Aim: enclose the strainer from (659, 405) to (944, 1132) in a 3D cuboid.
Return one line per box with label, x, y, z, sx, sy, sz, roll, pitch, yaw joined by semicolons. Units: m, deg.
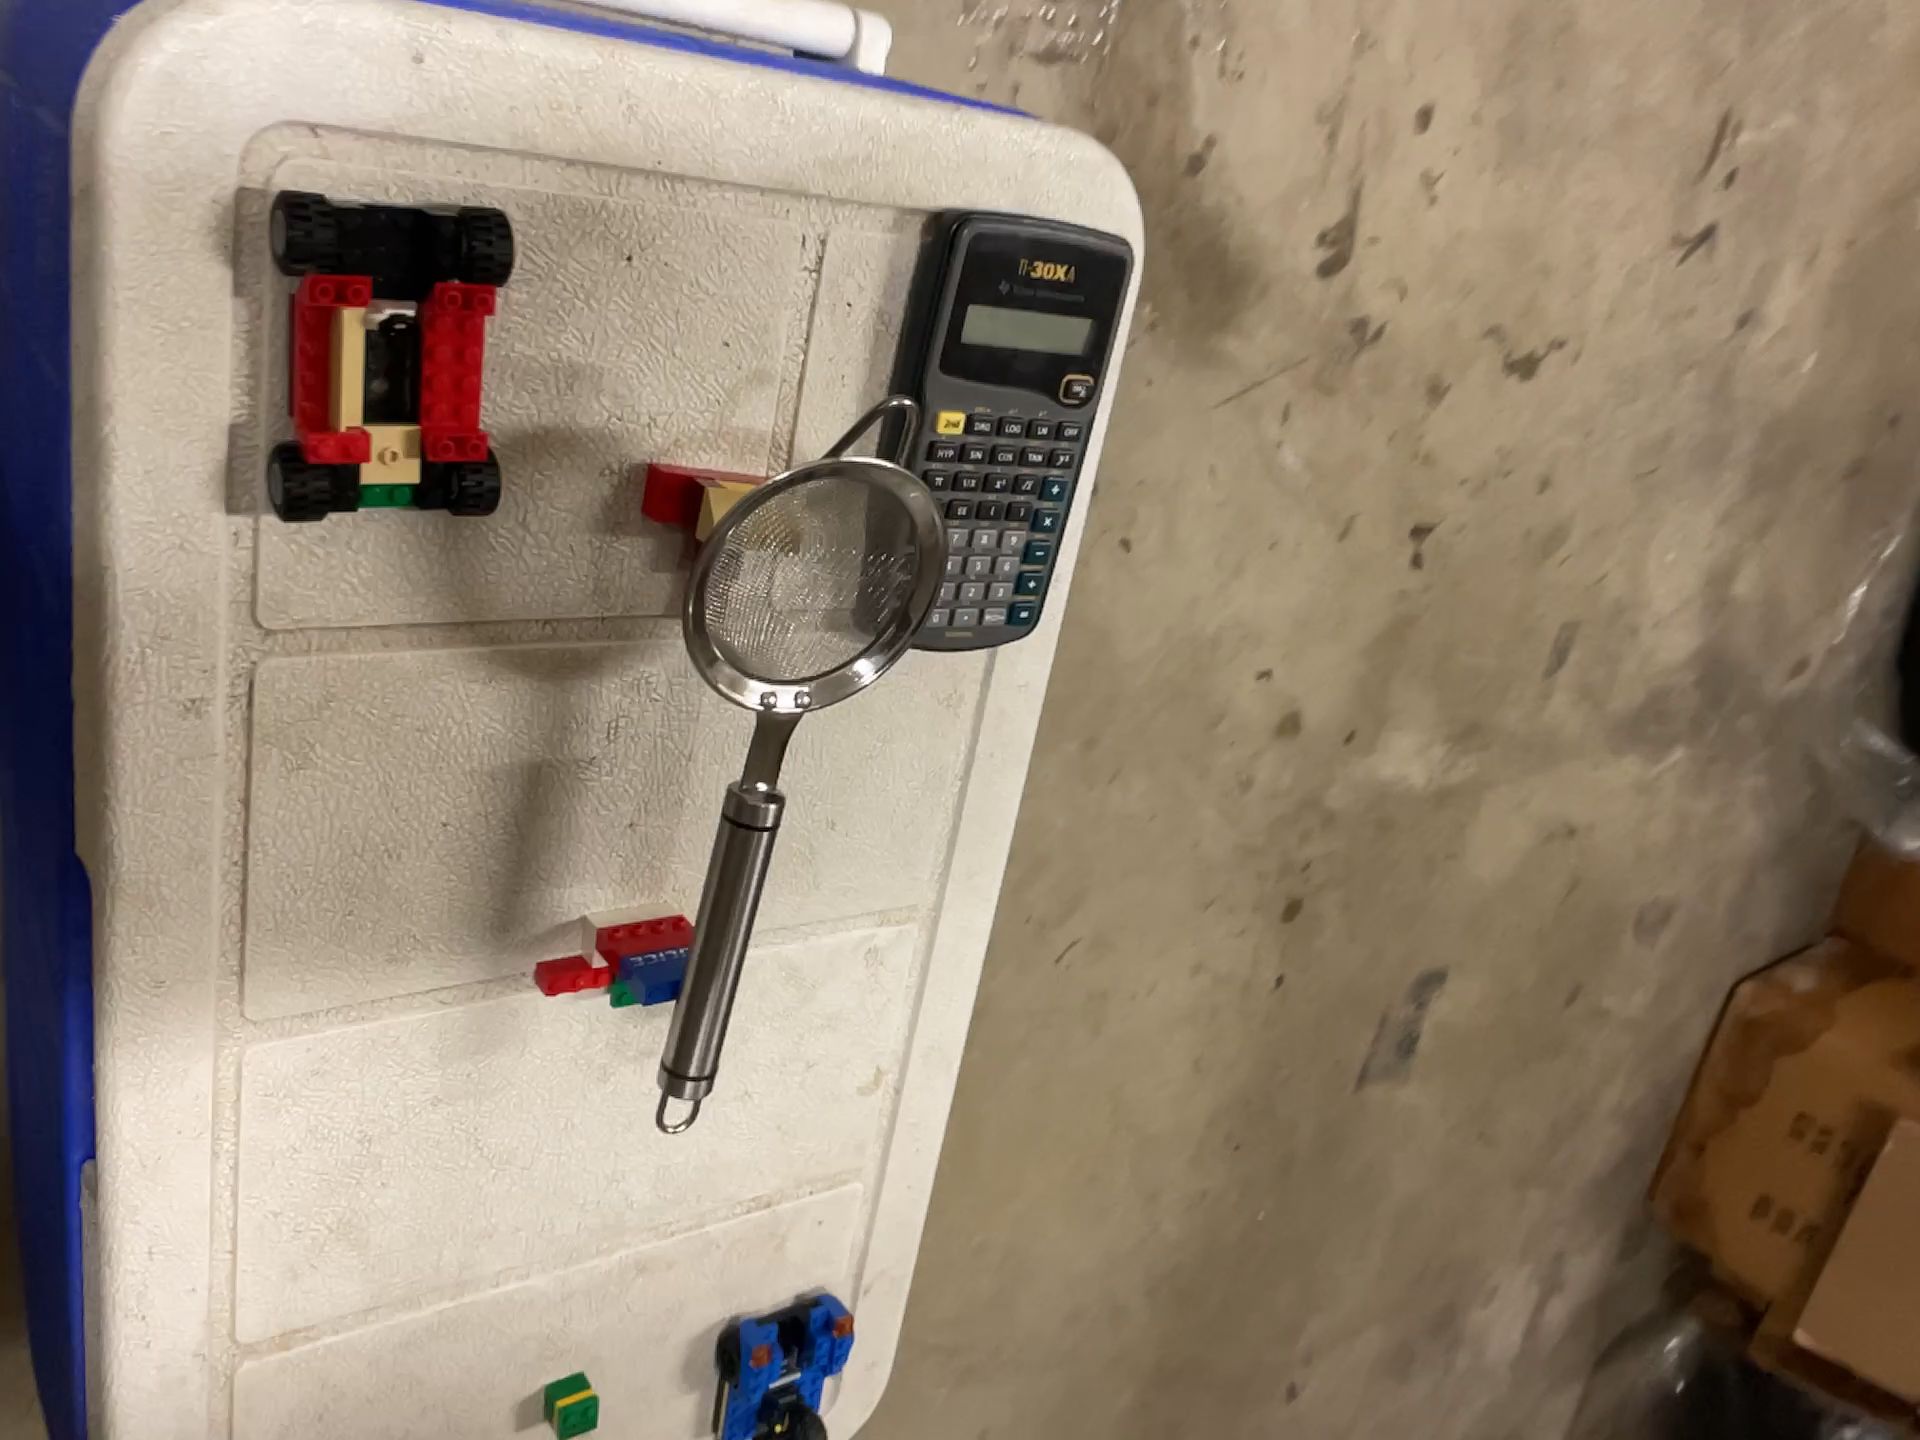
strainer;-0.065;0.021;0.500;0.087;0.050;0.258;1;114;-37
